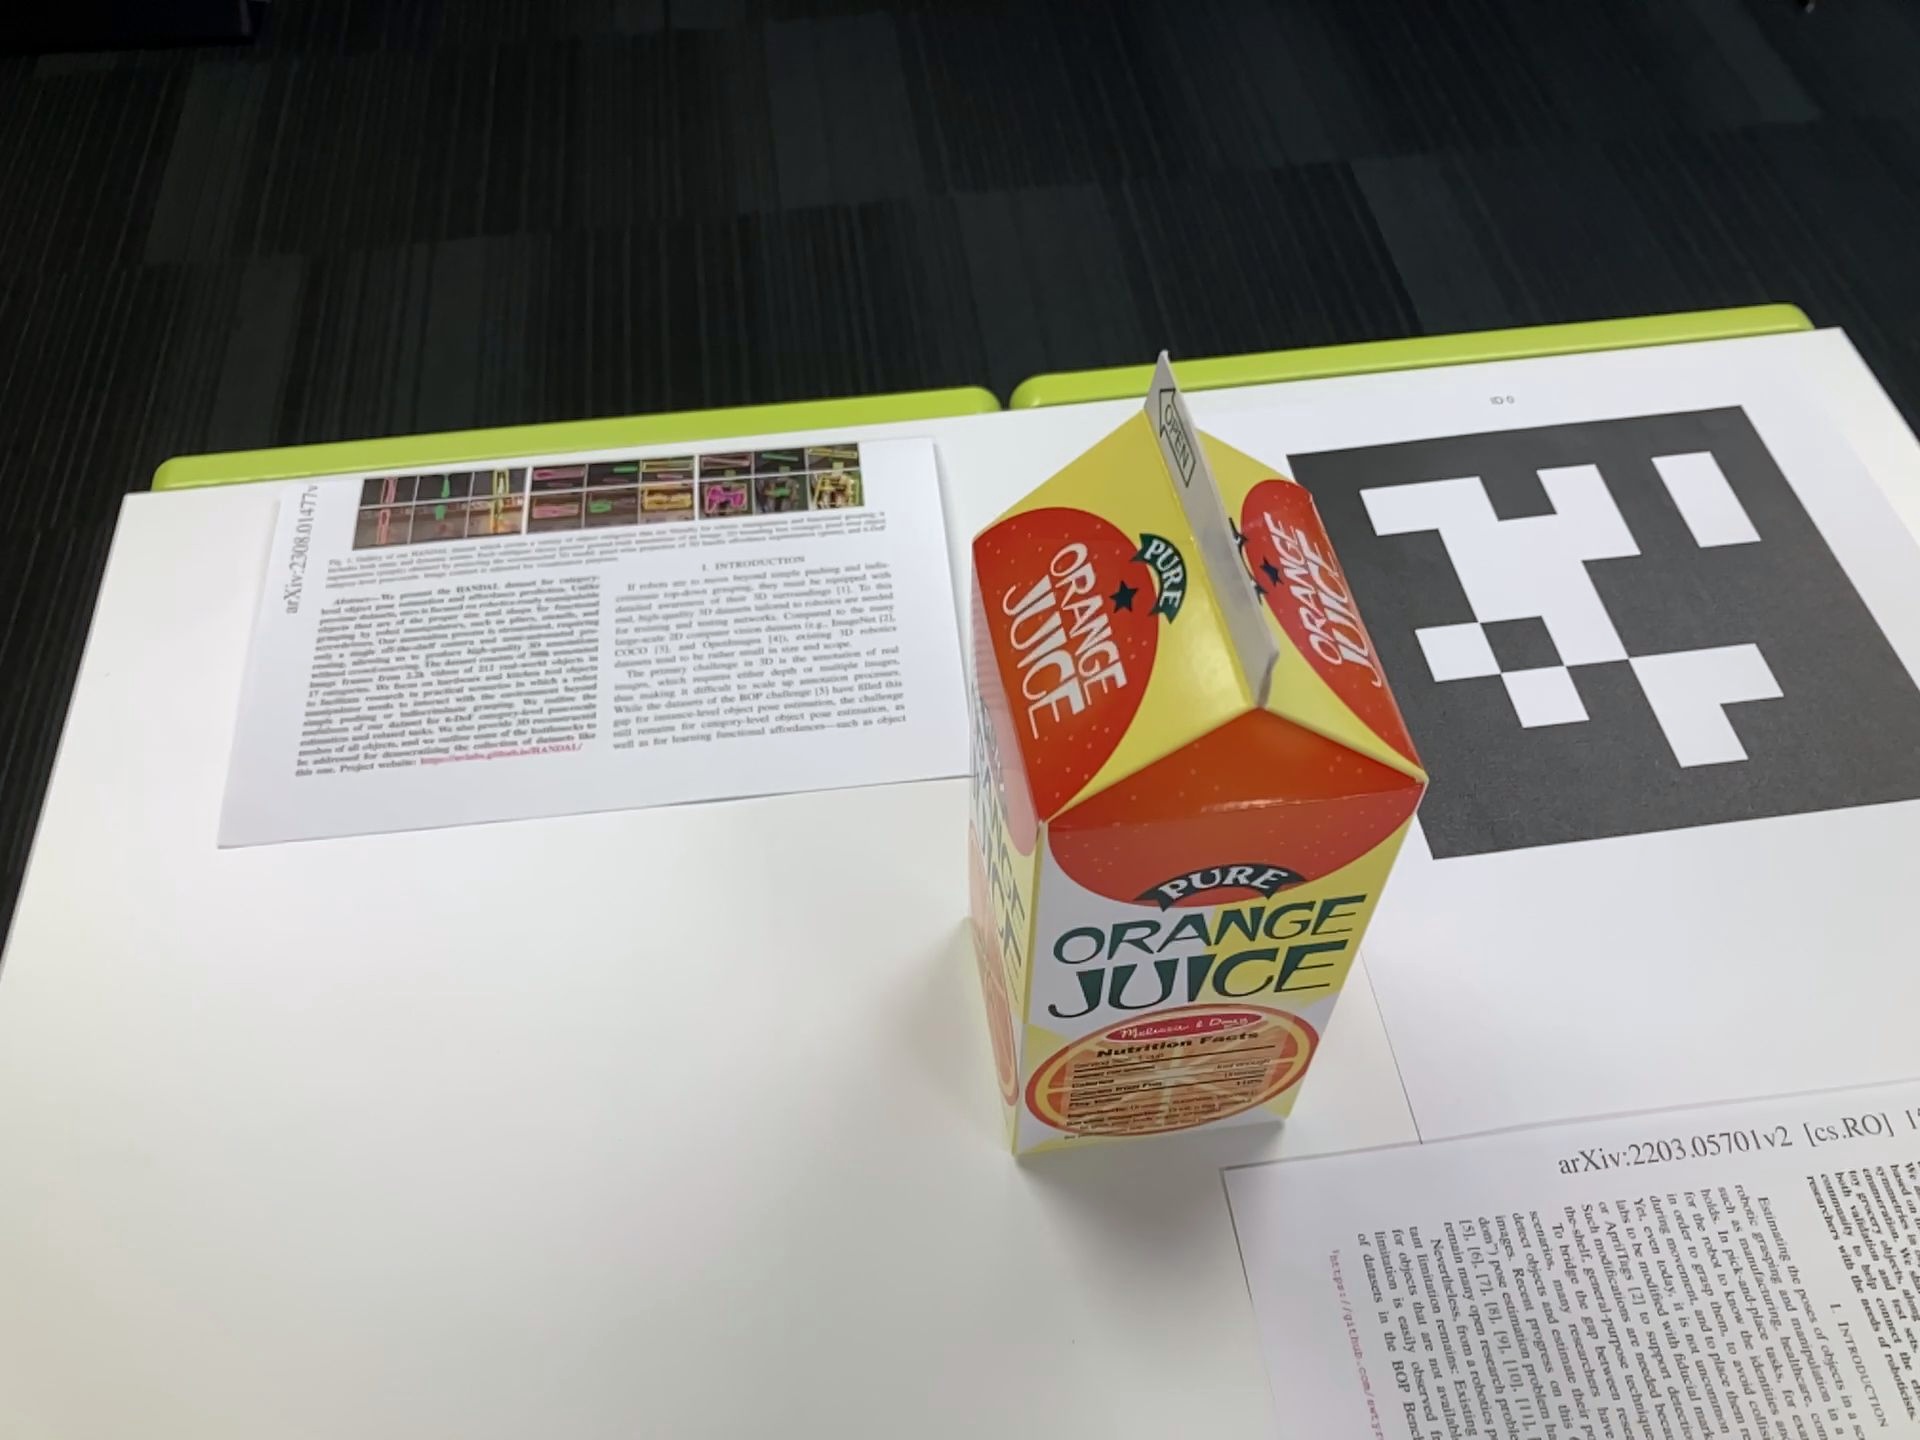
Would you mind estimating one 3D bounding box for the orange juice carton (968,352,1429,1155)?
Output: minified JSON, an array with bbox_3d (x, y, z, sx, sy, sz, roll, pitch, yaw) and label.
[{"bbox_3d":[0.042,0.019,0.340,0.073,0.192,0.072,-7,53,-5],"label":"orange juice carton"}]
